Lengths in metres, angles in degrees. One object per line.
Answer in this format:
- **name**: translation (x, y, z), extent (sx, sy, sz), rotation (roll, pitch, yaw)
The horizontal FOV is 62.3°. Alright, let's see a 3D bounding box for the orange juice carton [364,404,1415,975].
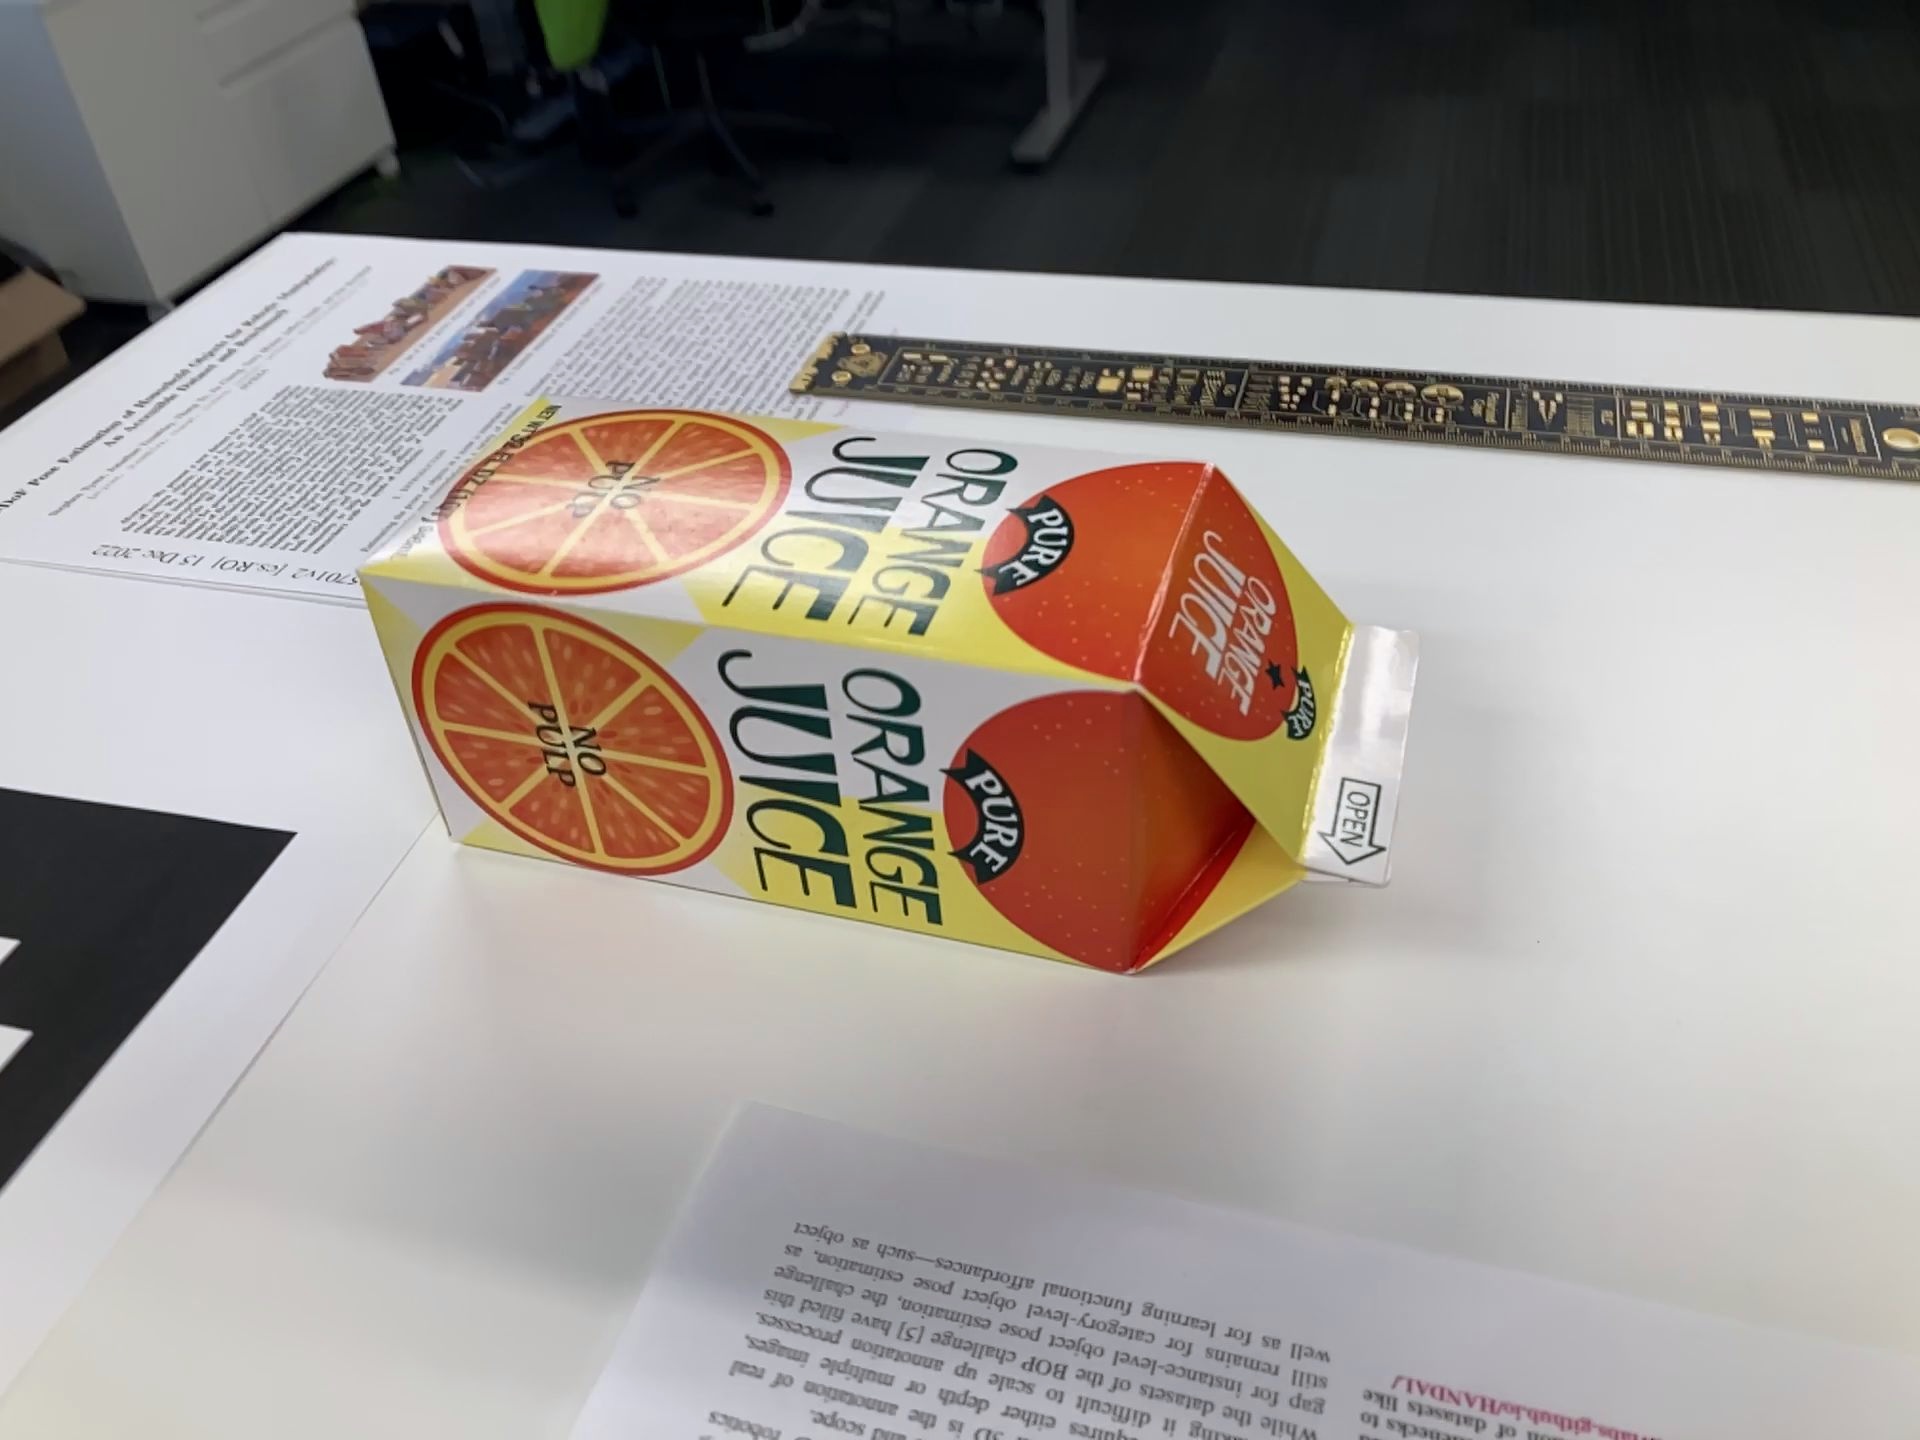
- **orange juice carton**: translation (-0.010, -0.008, 0.318), extent (0.192, 0.073, 0.072), rotation (8, 41, 16)
